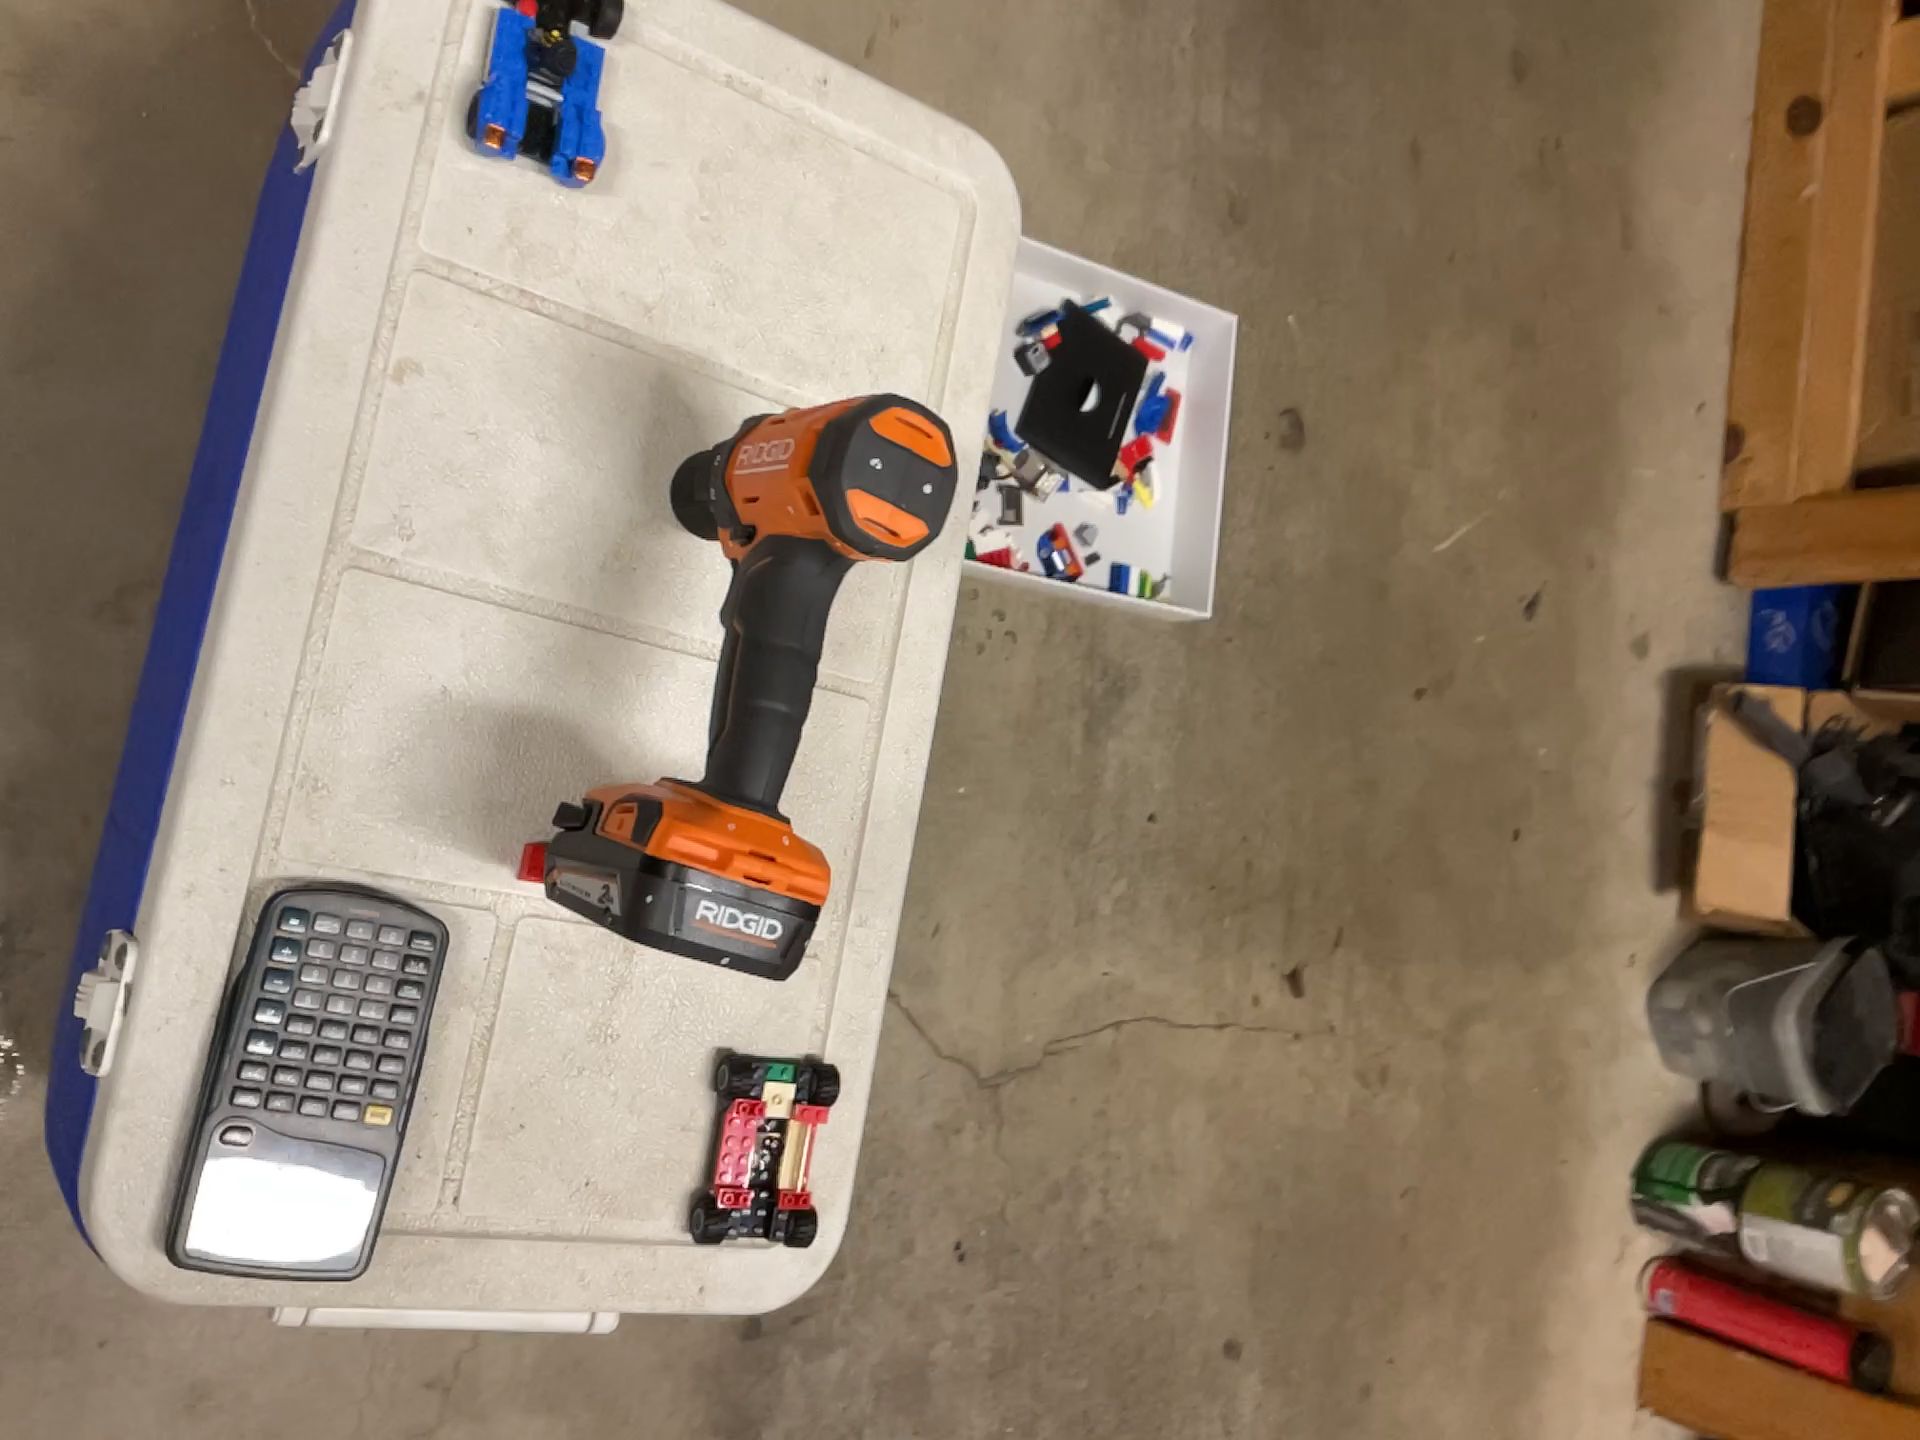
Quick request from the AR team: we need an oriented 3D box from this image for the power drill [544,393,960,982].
[{"bbox_3d":[-0.096,-0.022,0.661,0.084,0.185,0.226,22,83,-33],"label":"power drill"}]
